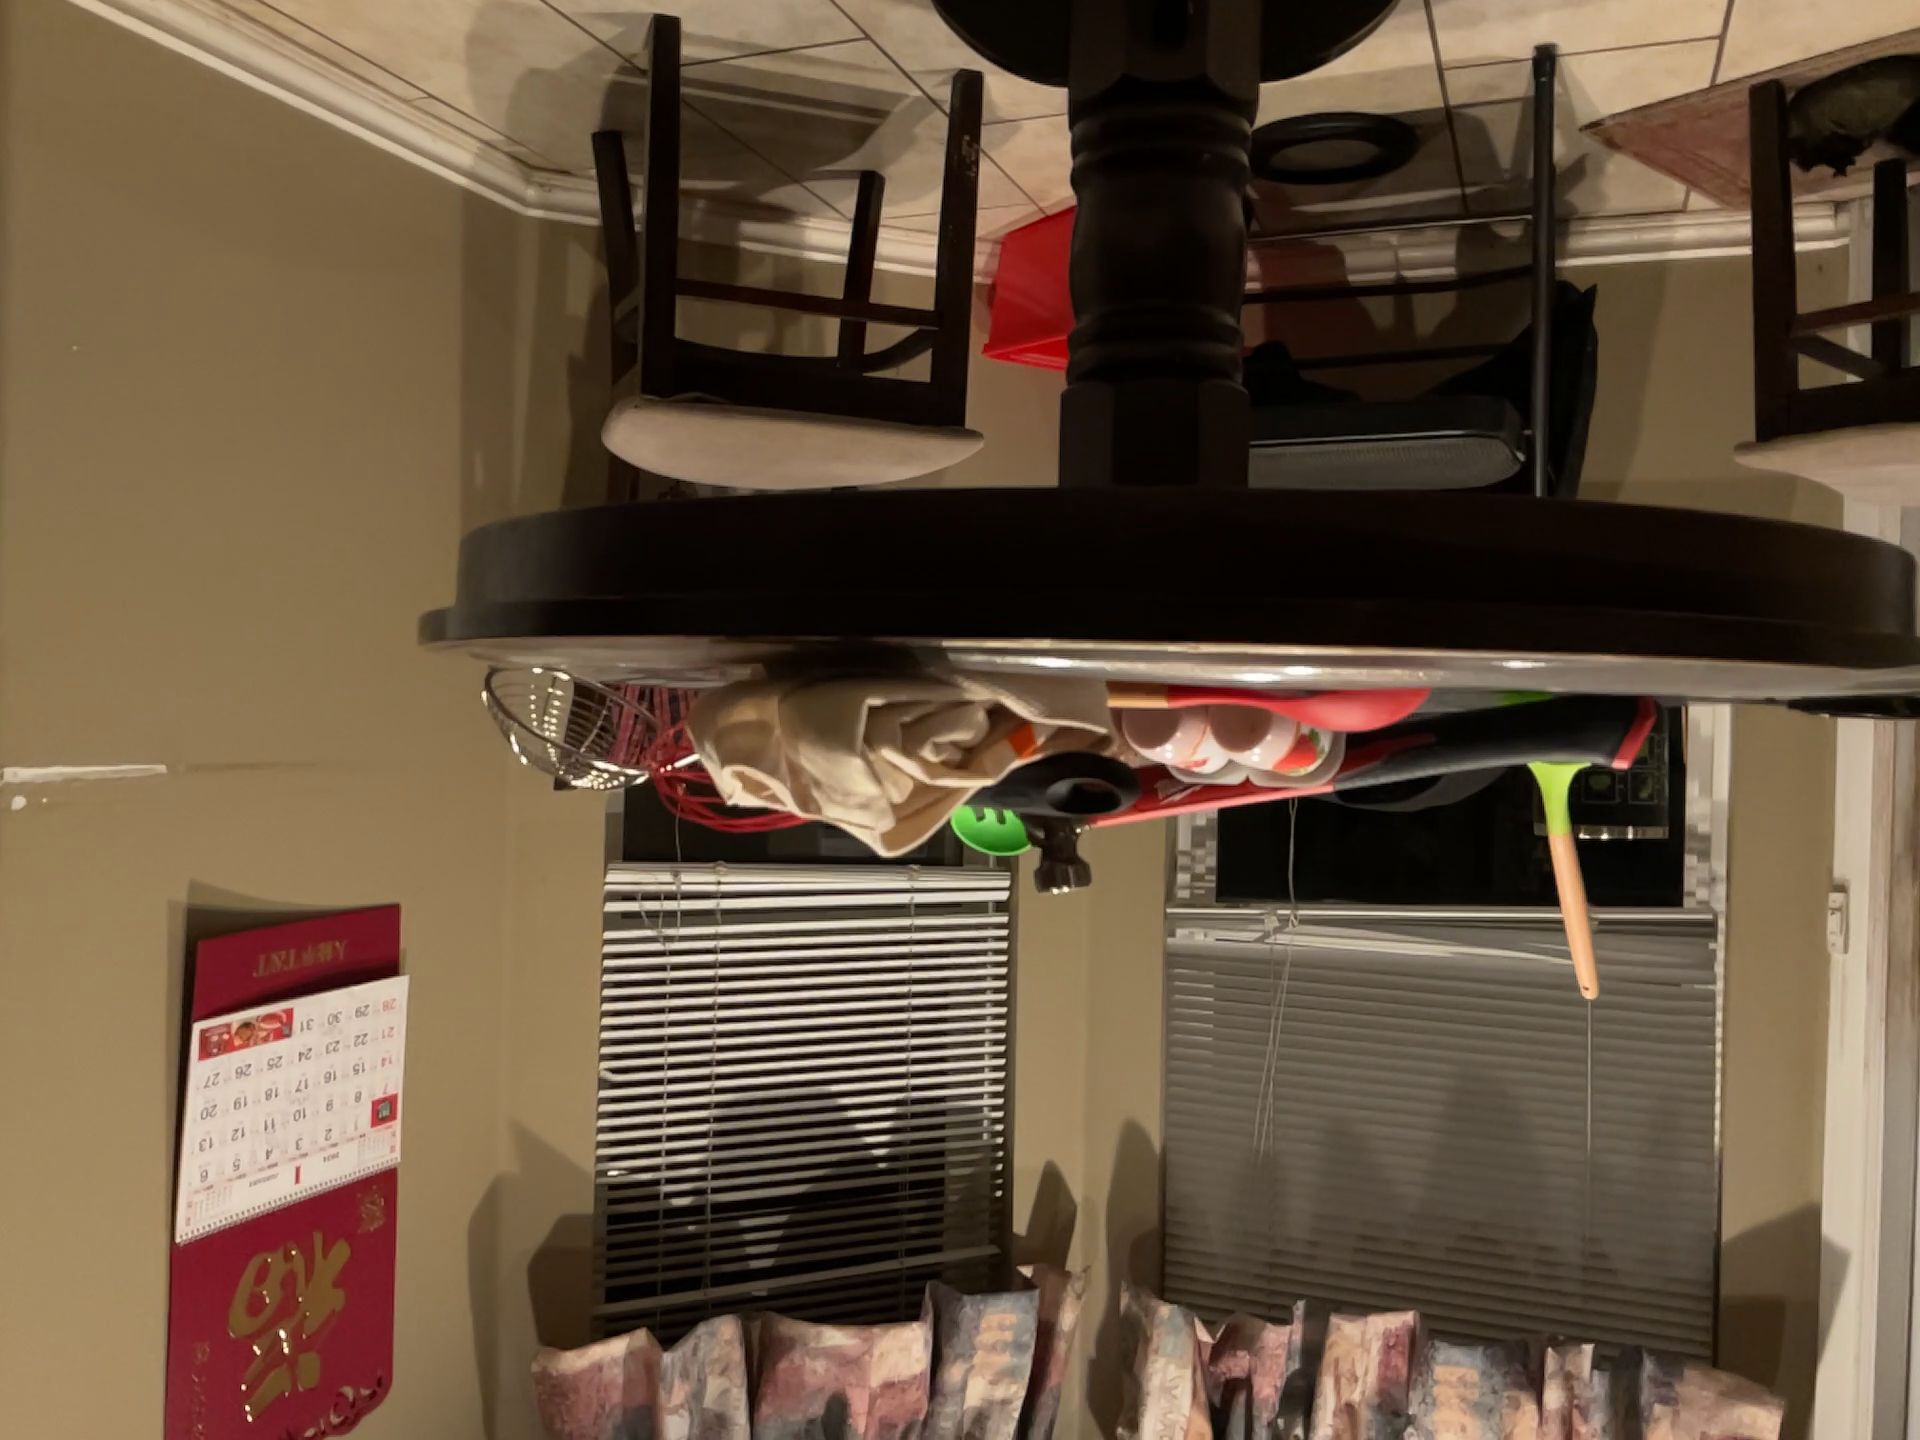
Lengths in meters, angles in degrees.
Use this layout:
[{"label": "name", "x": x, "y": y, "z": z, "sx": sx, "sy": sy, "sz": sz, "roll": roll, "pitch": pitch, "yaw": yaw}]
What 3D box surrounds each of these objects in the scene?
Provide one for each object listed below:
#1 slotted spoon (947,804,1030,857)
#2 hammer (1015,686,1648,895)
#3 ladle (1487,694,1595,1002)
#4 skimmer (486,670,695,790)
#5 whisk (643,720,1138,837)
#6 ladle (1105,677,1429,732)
[{"label": "slotted spoon", "x": -0.001, "y": 0.035, "z": 1.138, "sx": 0.070, "sy": 0.031, "sz": 0.313, "roll": -3, "pitch": 156, "yaw": 13}, {"label": "hammer", "x": 0.214, "y": 0.012, "z": 0.976, "sx": 0.386, "sy": 0.143, "sz": 0.038, "roll": -11, "pitch": 176, "yaw": 23}, {"label": "ladle", "x": 0.419, "y": 0.104, "z": 1.119, "sx": 0.078, "sy": 0.319, "sz": 0.062, "roll": 16, "pitch": -127, "yaw": 42}, {"label": "skimmer", "x": -0.119, "y": -0.019, "z": 0.982, "sx": 0.363, "sy": 0.090, "sz": 0.127, "roll": -9, "pitch": -176, "yaw": 17}, {"label": "whisk", "x": -0.047, "y": 0.030, "z": 0.813, "sx": 0.296, "sy": 0.073, "sz": 0.073, "roll": 1, "pitch": 178, "yaw": 30}, {"label": "ladle", "x": 0.084, "y": -0.017, "z": 0.830, "sx": 0.315, "sy": 0.031, "sz": 0.069, "roll": 4, "pitch": 180, "yaw": 24}]
